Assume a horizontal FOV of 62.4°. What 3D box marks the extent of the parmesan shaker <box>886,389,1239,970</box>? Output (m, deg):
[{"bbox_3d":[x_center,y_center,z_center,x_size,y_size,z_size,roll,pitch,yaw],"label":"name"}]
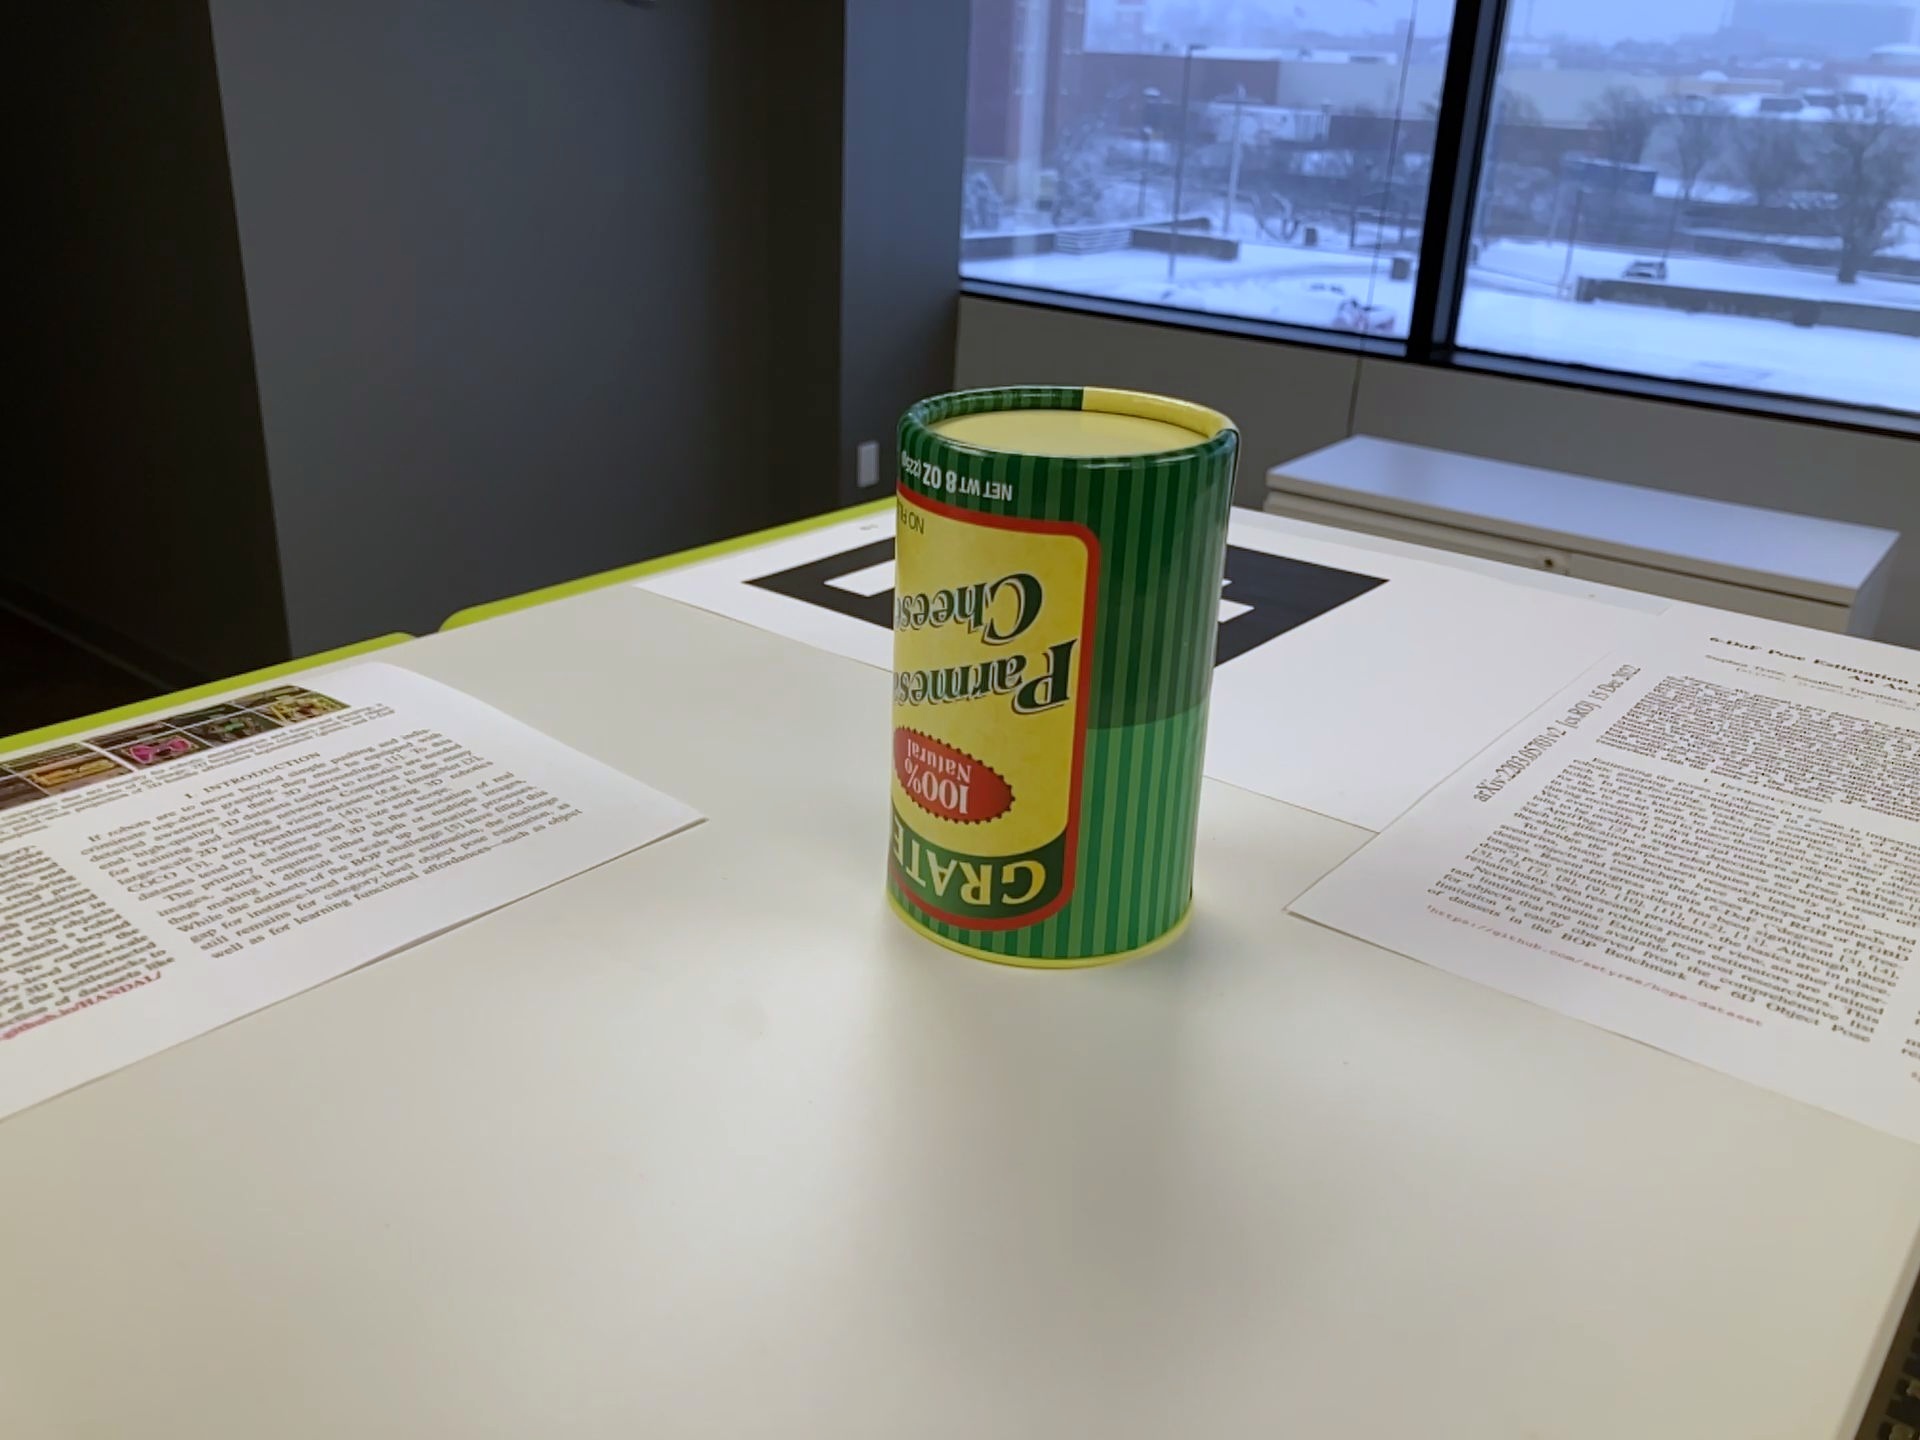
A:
[{"bbox_3d":[0.017,-0.011,0.325,0.071,0.103,0.071,1,21,0],"label":"parmesan shaker"}]
